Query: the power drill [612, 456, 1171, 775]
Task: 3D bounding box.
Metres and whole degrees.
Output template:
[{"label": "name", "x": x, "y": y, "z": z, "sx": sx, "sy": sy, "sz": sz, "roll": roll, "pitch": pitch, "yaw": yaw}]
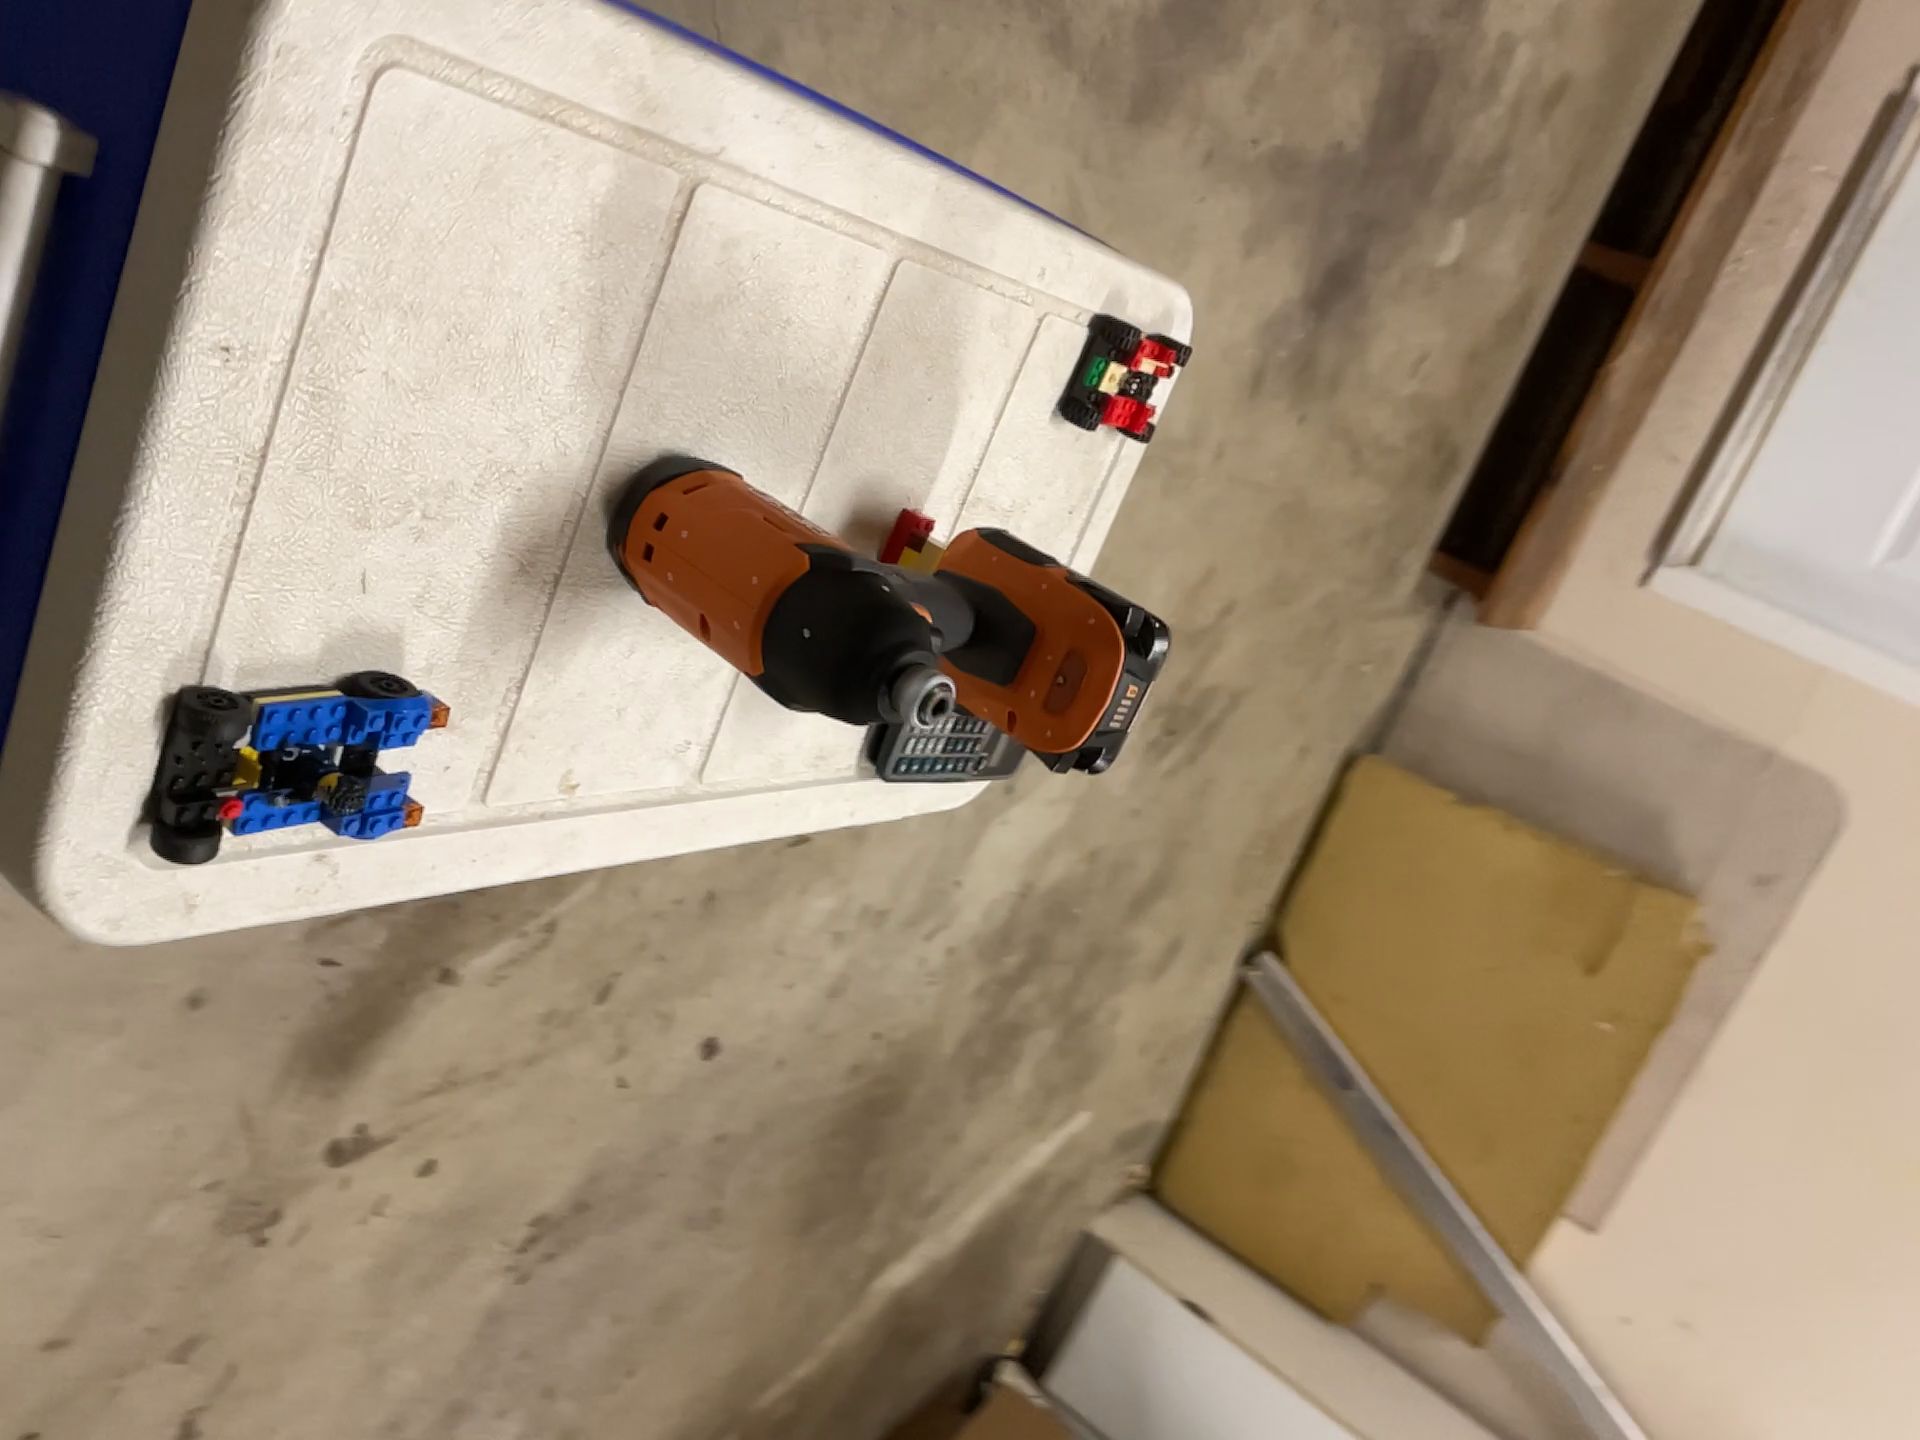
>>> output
[{"label": "power drill", "x": -0.011, "y": -0.035, "z": 0.660, "sx": 0.226, "sy": 0.164, "sz": 0.084, "roll": 8, "pitch": 111, "yaw": -50}]
